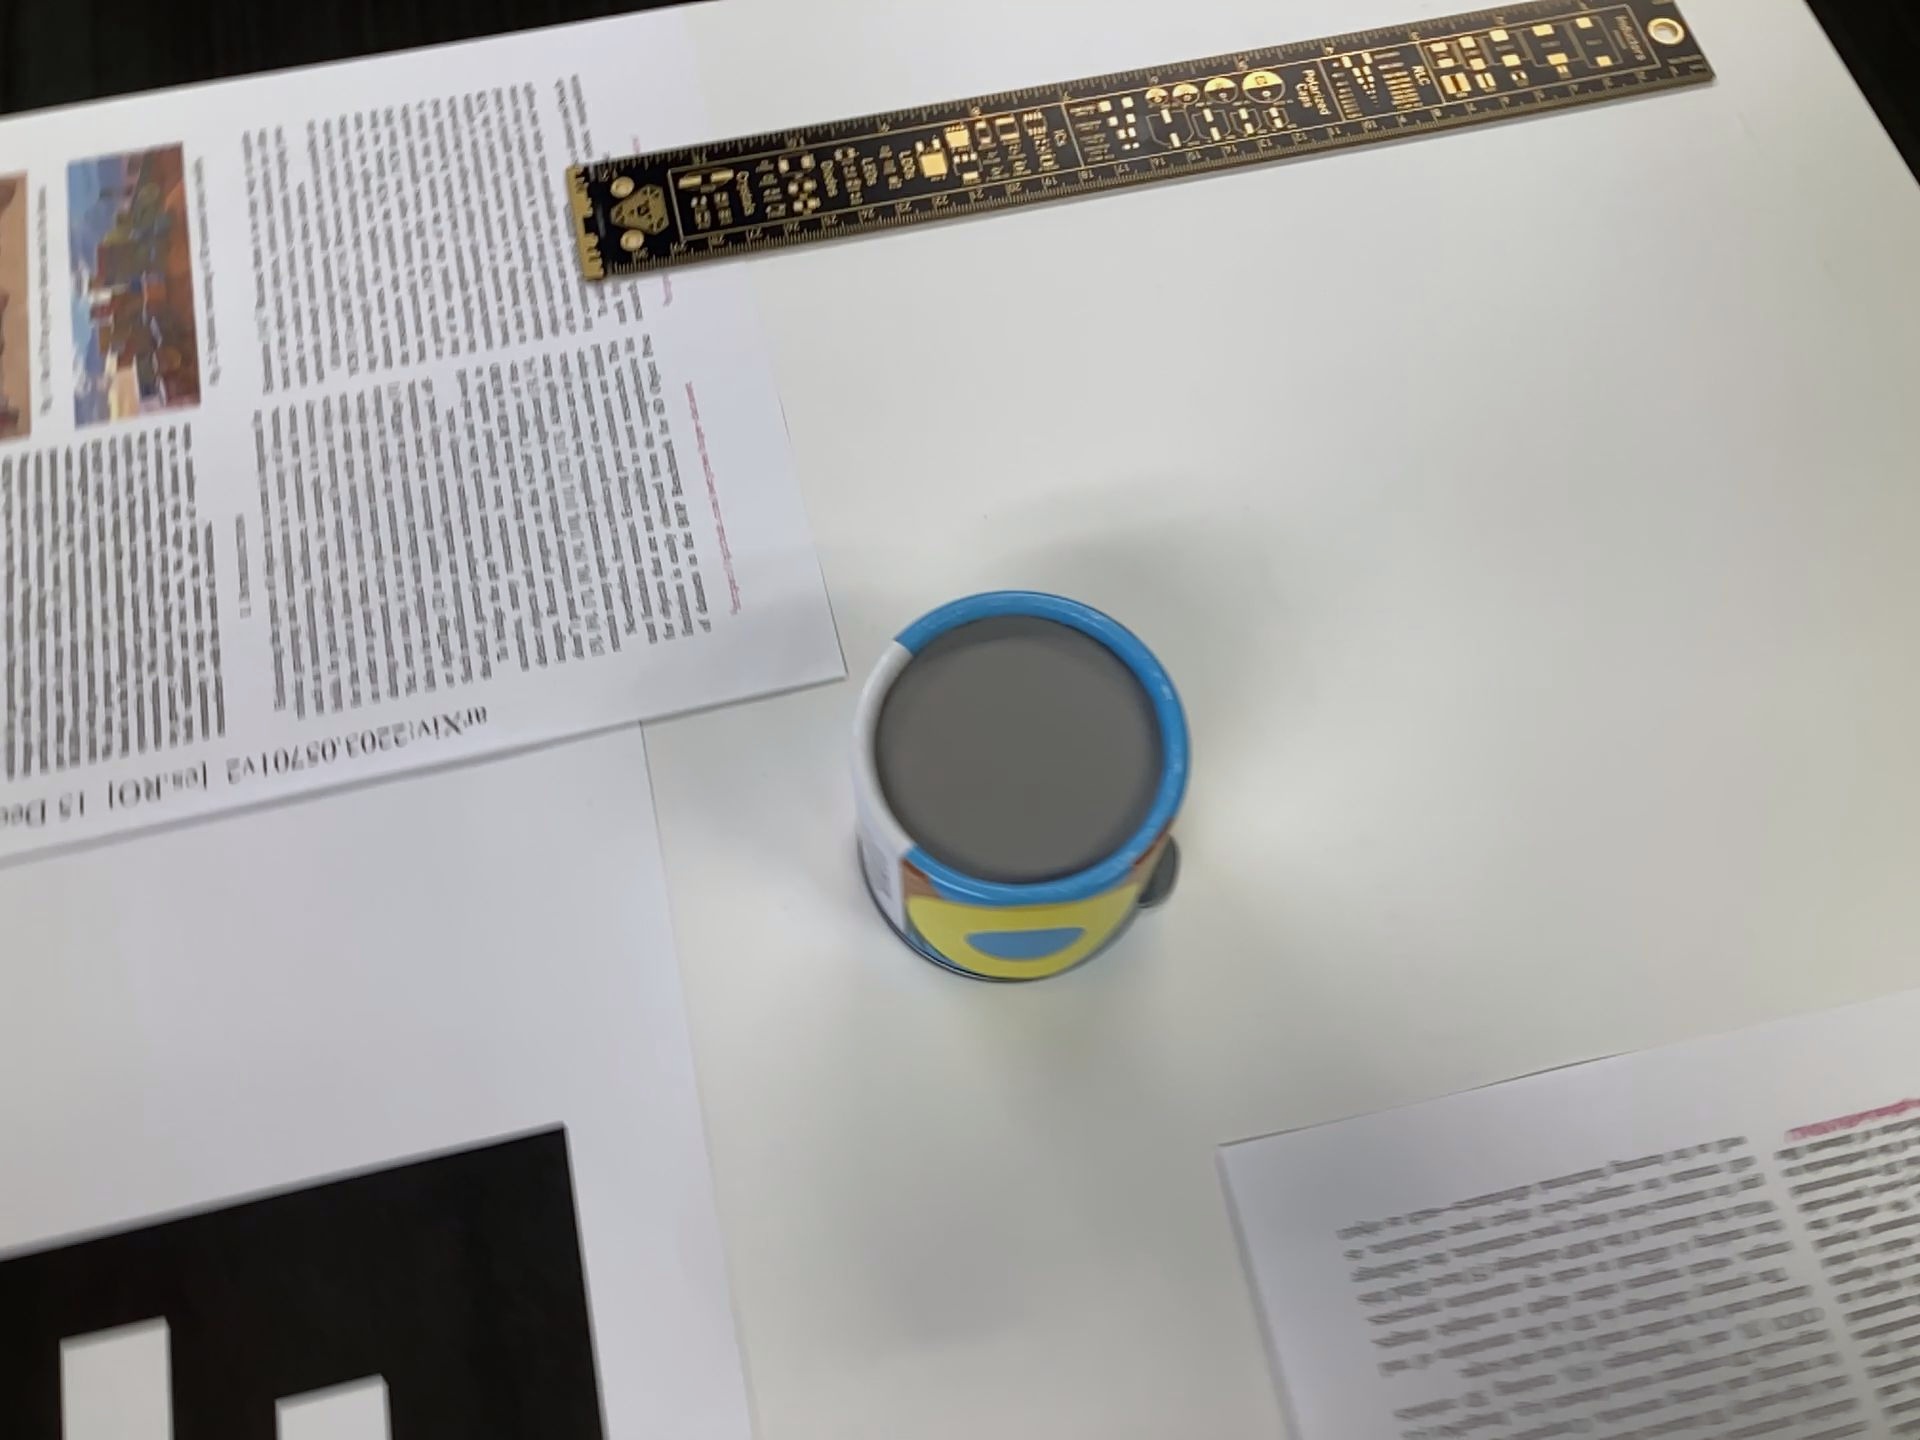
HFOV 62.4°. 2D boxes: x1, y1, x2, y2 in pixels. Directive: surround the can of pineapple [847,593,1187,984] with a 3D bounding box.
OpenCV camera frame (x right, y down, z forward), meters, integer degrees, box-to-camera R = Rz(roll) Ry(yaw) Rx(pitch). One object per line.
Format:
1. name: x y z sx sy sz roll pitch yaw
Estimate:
1. can of pineapple: 0.012 0.015 0.328 0.071 0.058 0.071 0 67 -1
